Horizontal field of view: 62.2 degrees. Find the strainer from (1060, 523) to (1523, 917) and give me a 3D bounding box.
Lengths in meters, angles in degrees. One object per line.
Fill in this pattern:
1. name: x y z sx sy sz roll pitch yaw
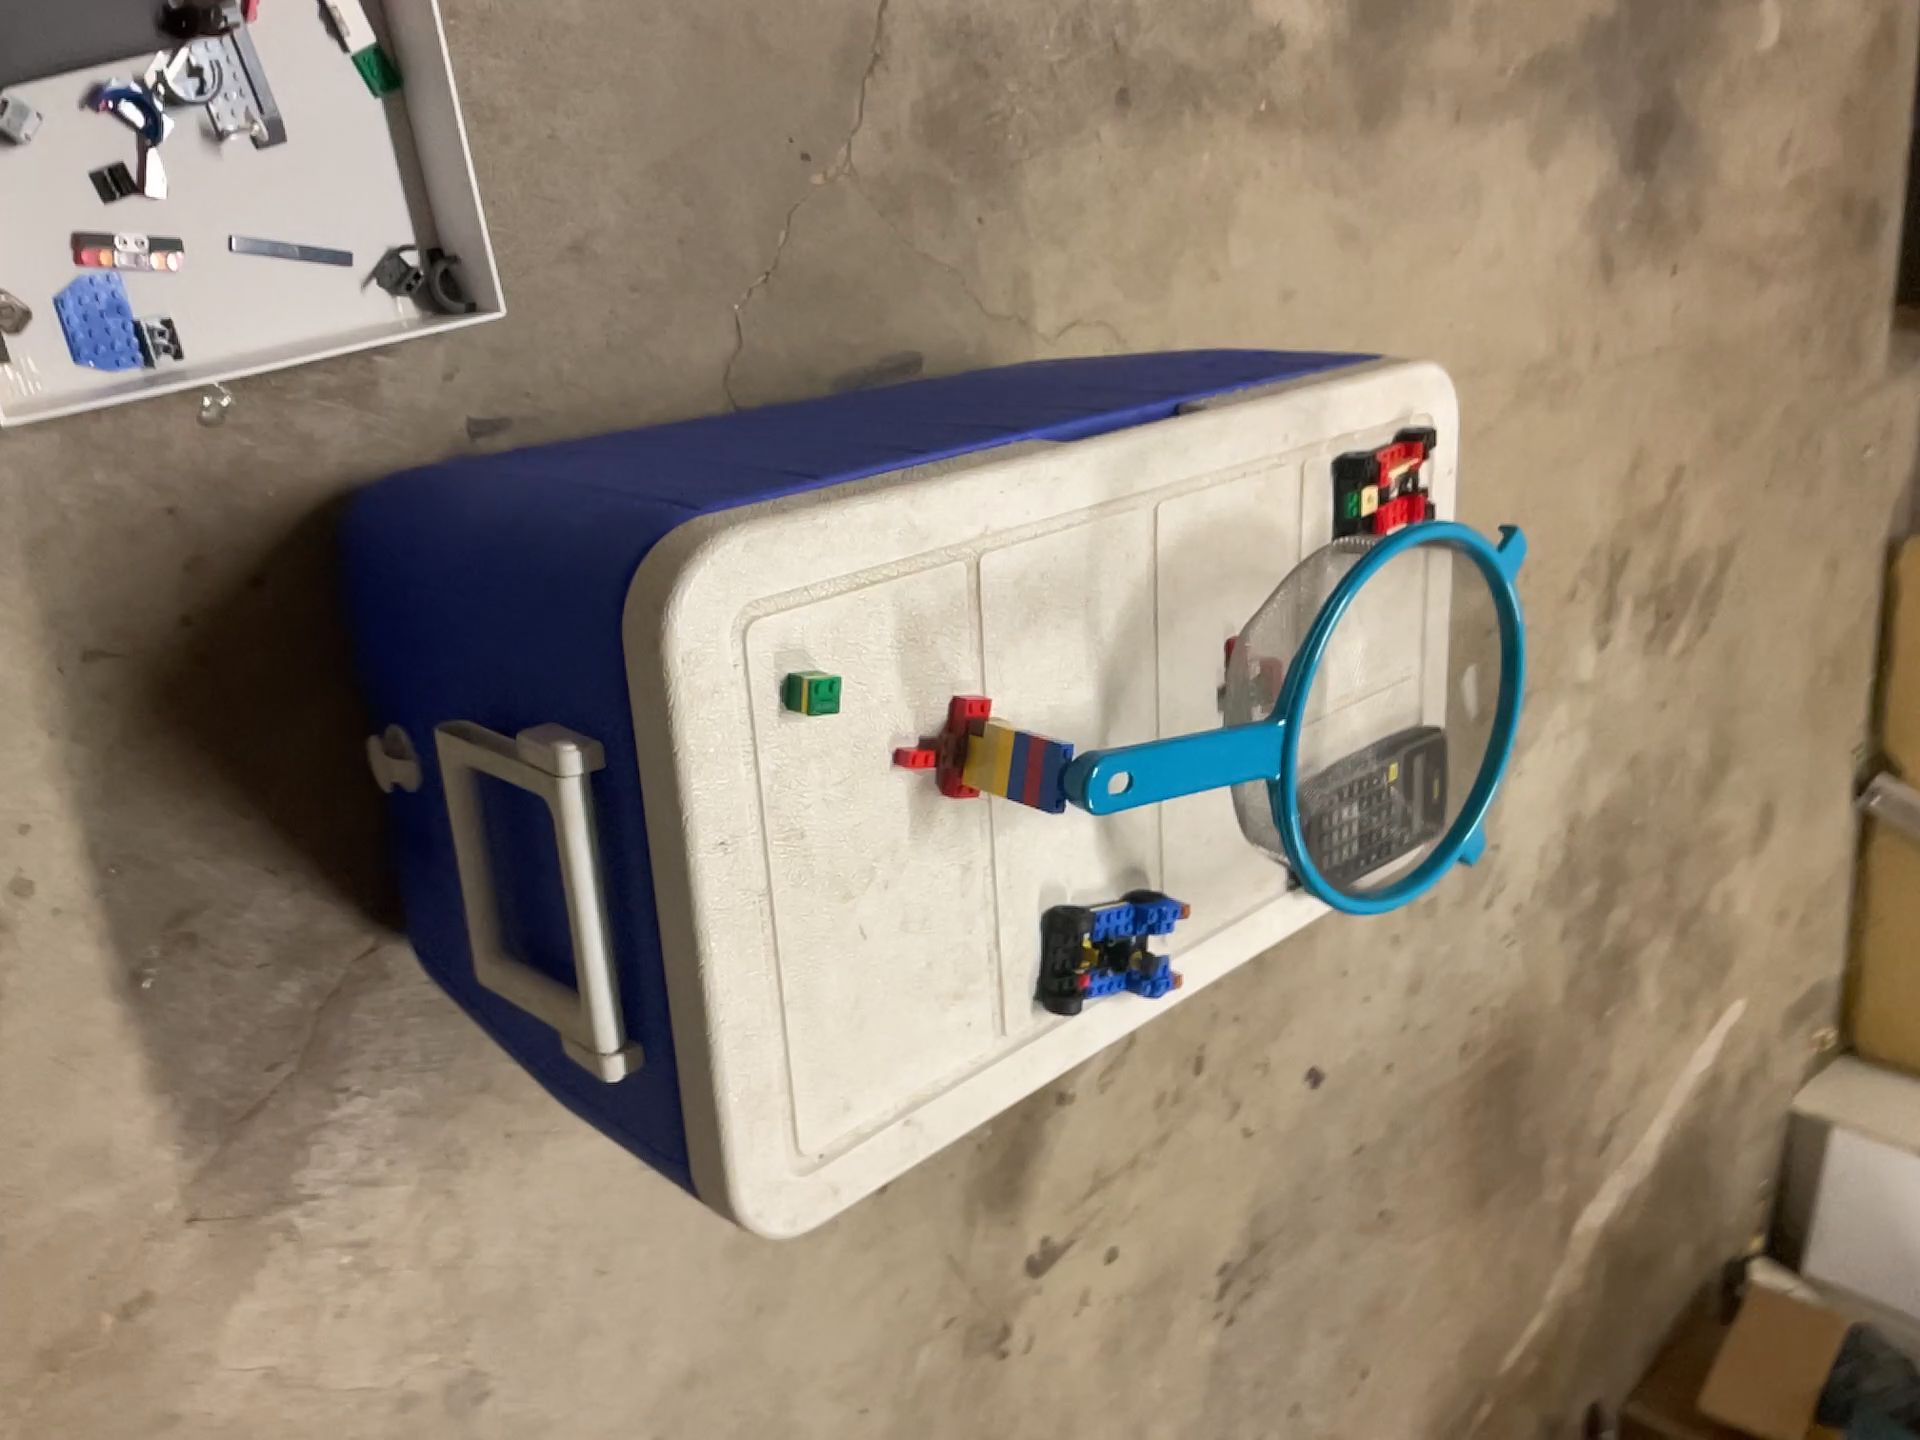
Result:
1. strainer: 0.158 0.001 0.825 0.340 0.095 0.210 -9 109 -38
